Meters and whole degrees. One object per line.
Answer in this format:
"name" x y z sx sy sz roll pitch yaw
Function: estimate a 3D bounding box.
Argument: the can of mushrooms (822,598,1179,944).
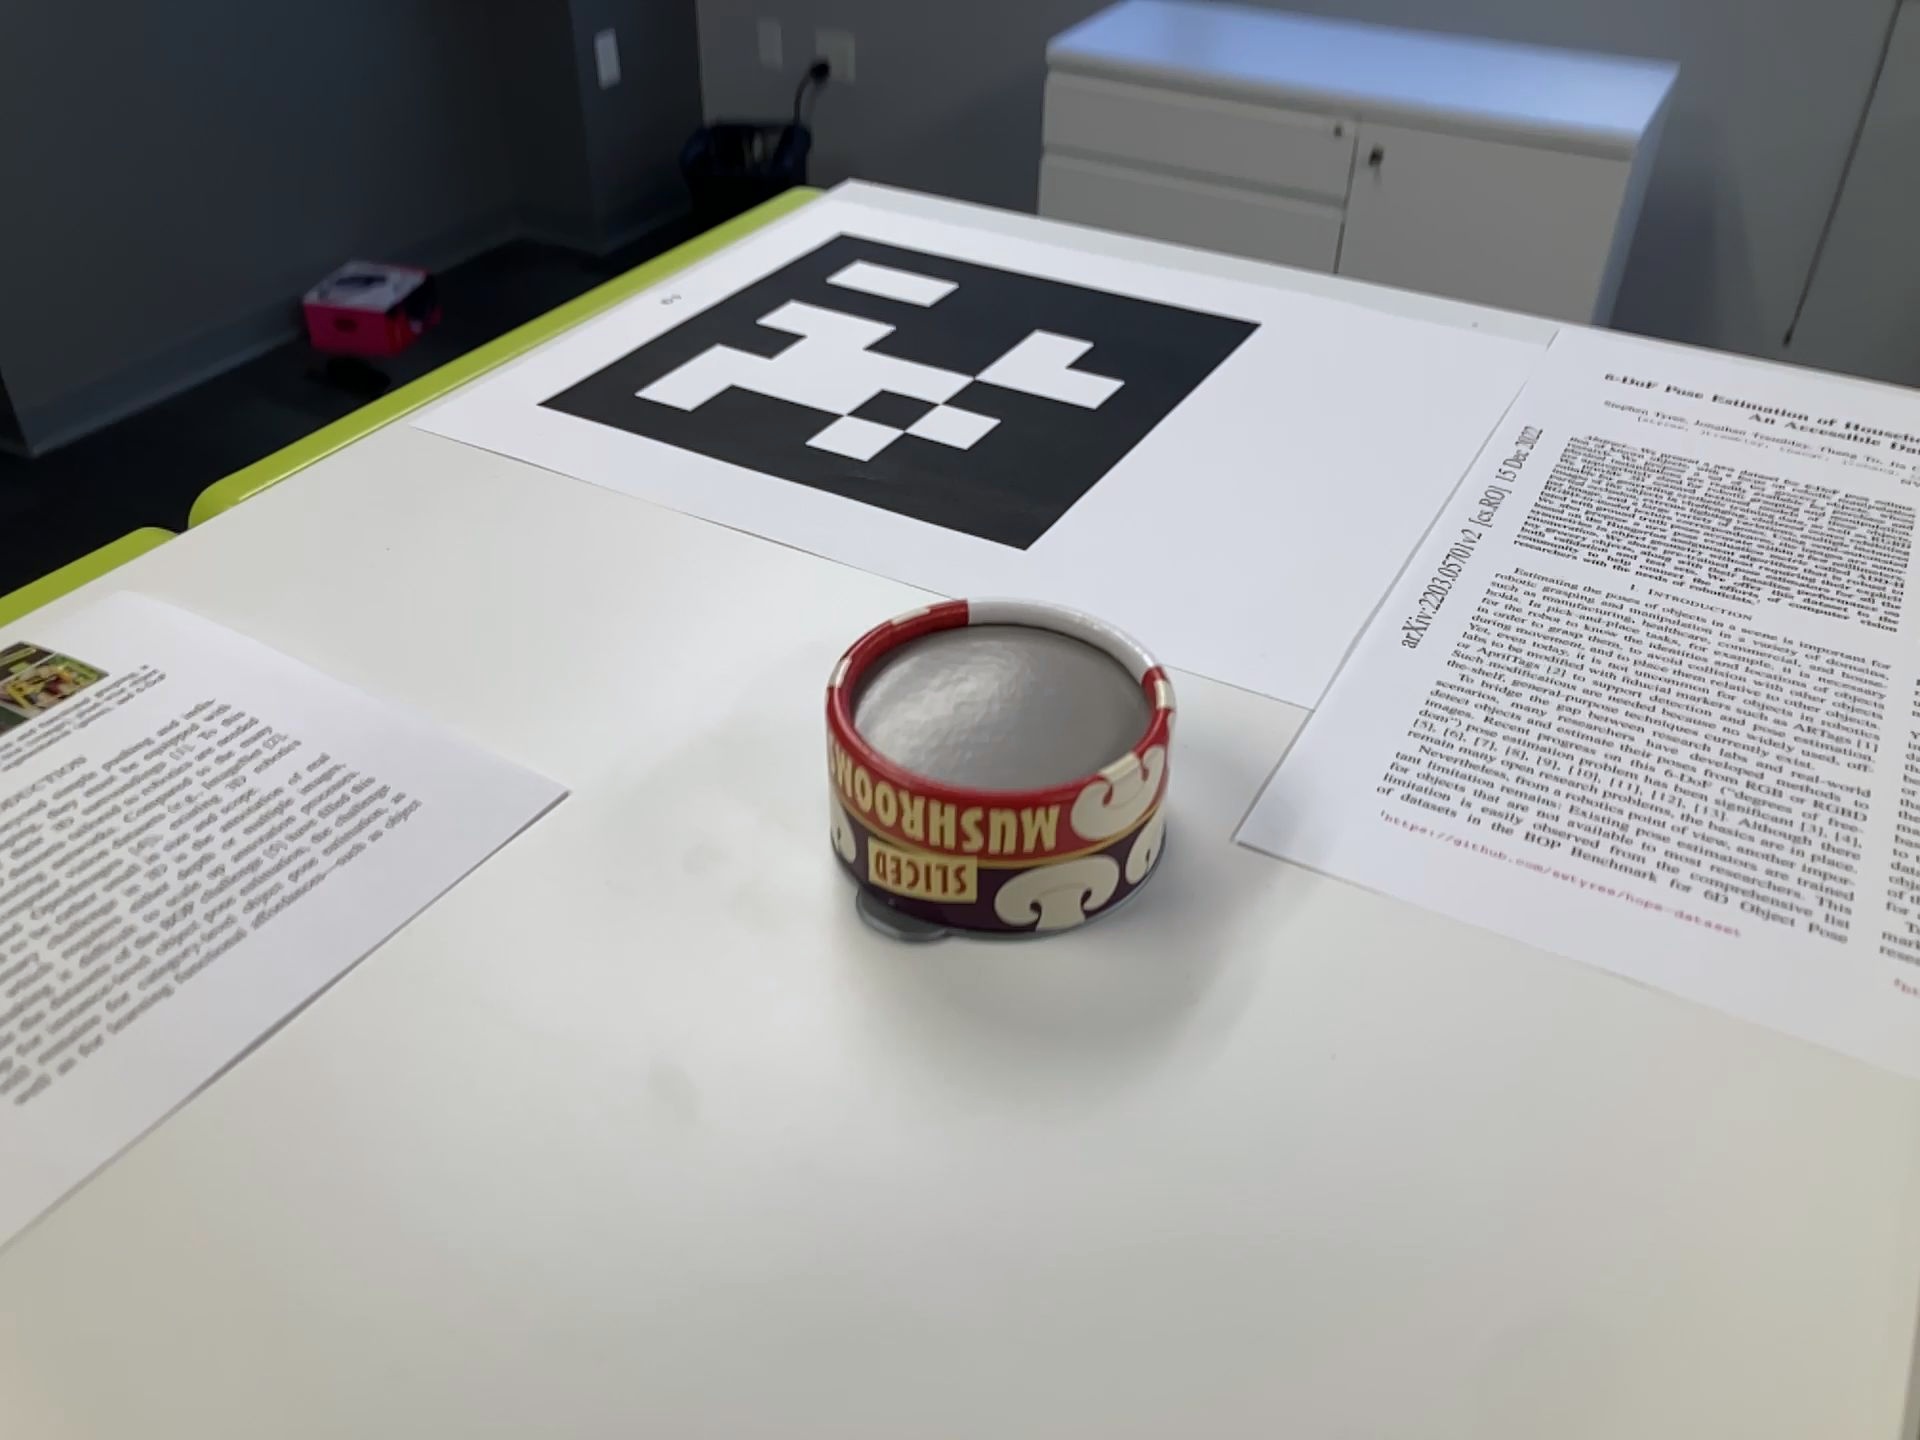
"can of mushrooms" 0.006 0.008 0.298 0.071 0.033 0.071 0 38 0
